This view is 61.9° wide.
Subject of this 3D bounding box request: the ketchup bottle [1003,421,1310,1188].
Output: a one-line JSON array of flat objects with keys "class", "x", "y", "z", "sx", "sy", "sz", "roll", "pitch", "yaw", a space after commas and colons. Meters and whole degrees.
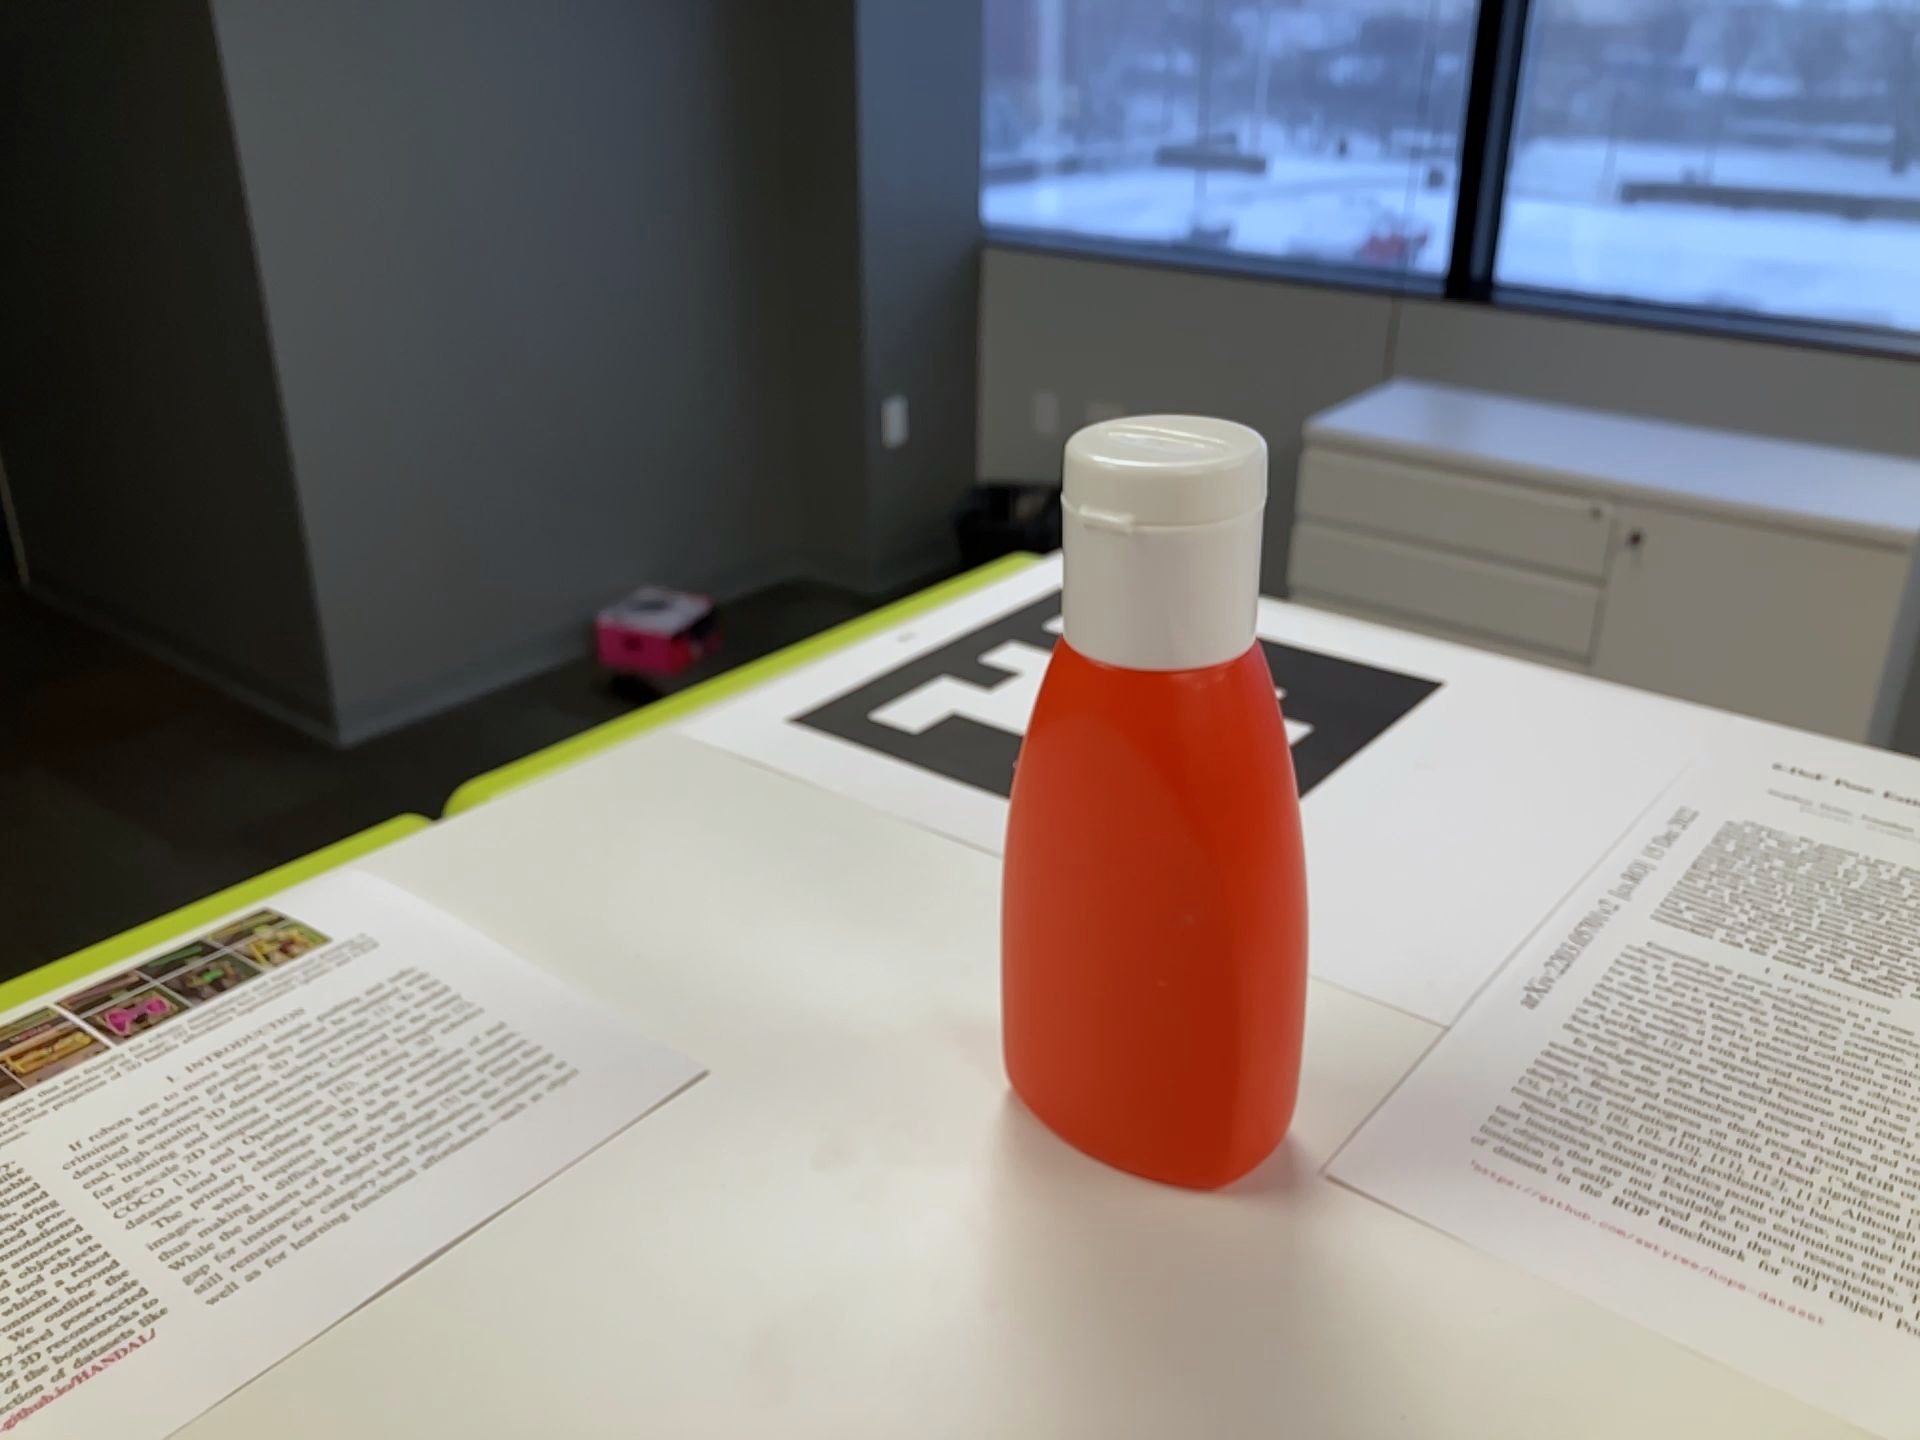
[{"class": "ketchup bottle", "x": 0.038, "y": 0.018, "z": 0.316, "sx": 0.065, "sy": 0.149, "sz": 0.043, "roll": 18, "pitch": 32, "yaw": 36}]
